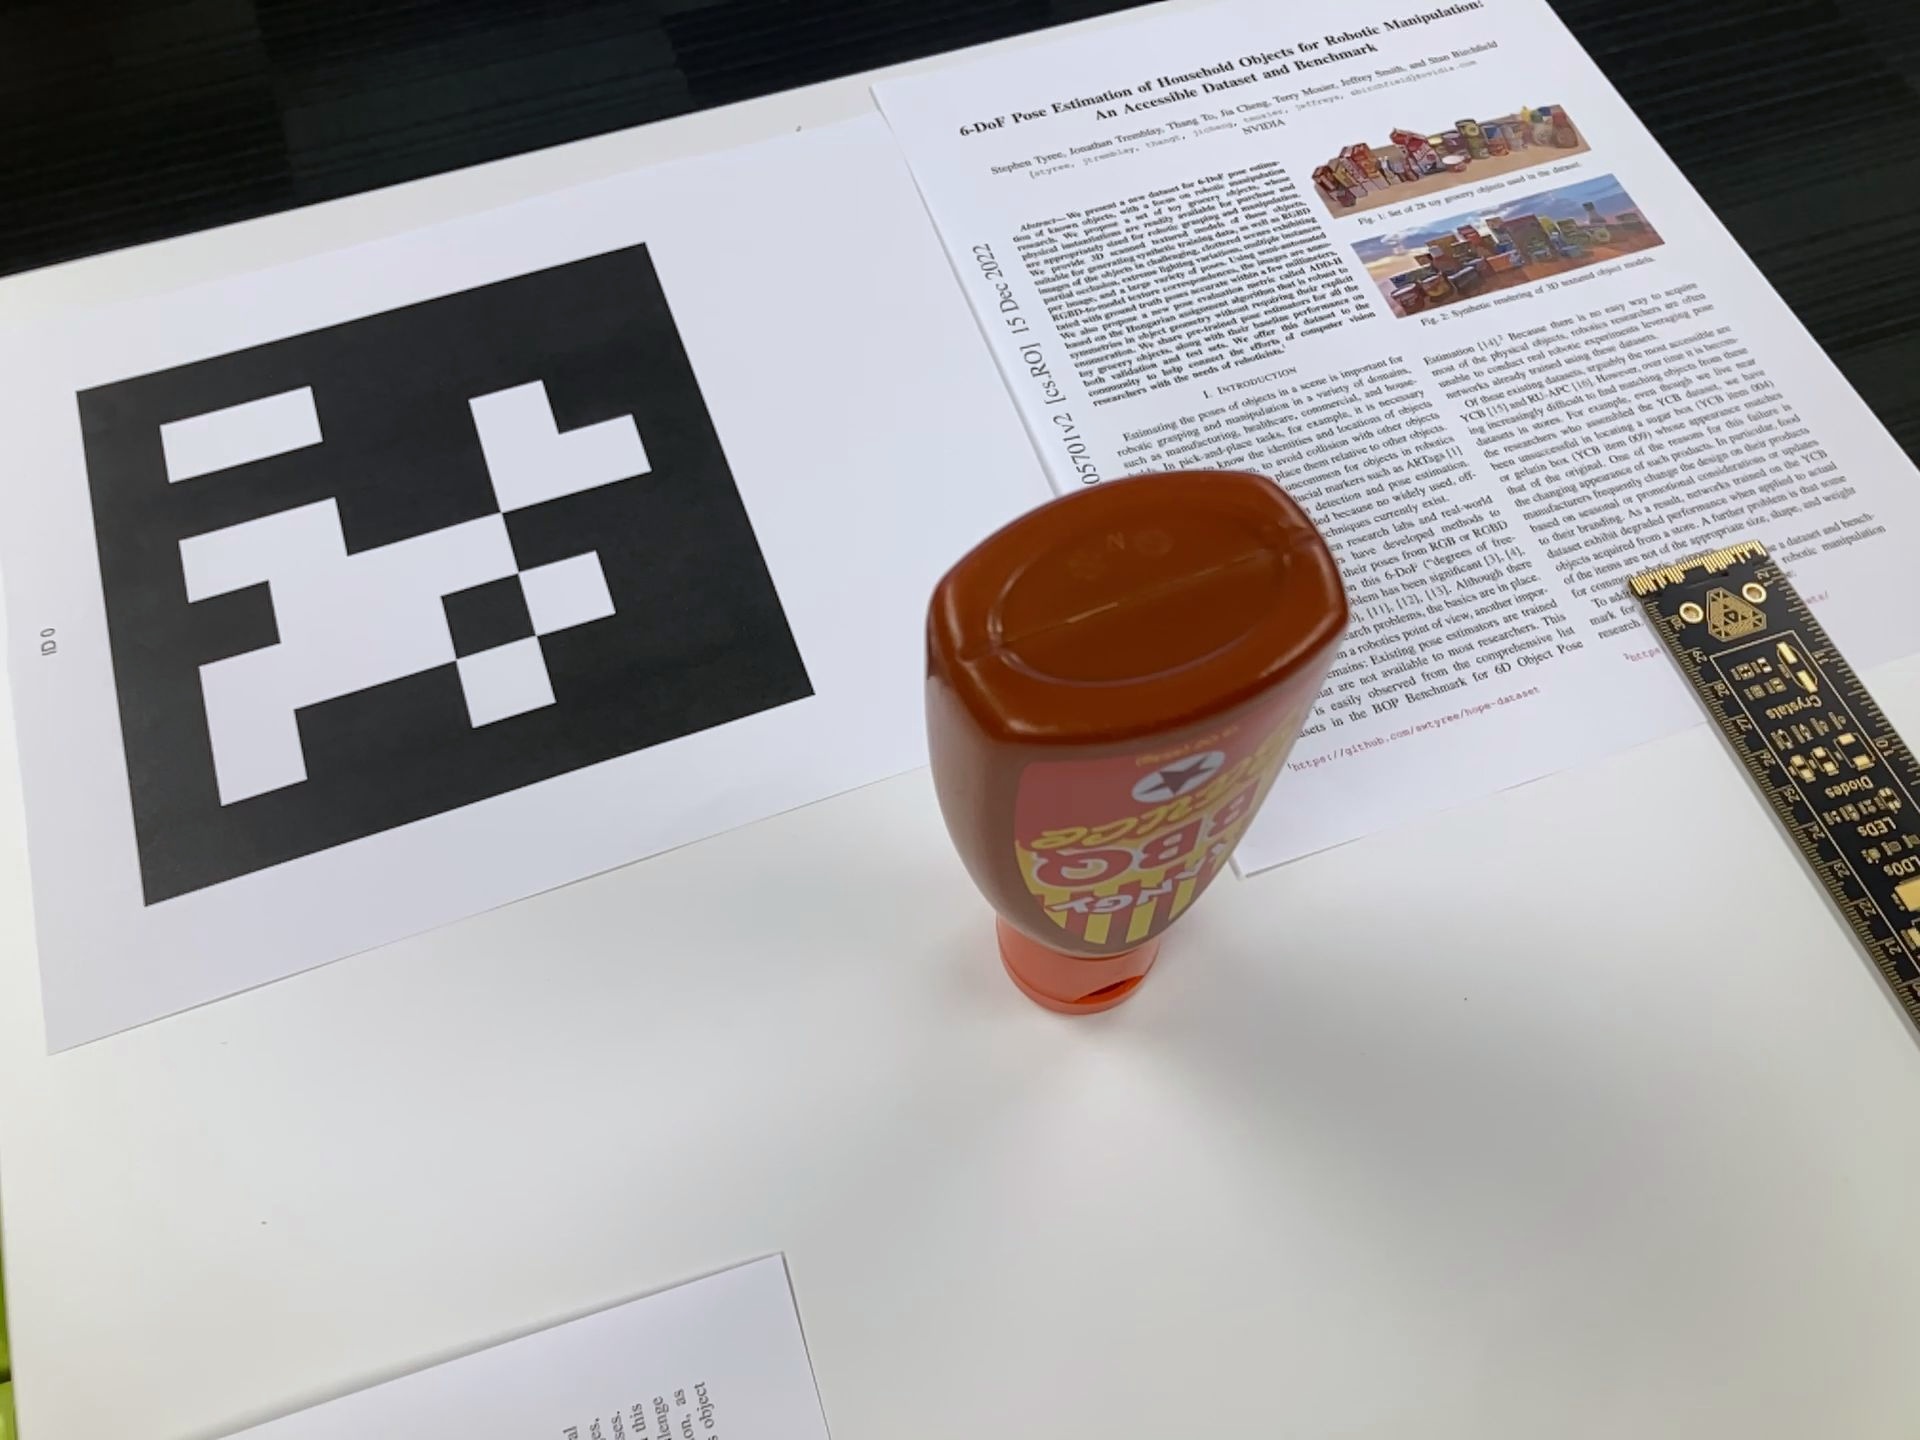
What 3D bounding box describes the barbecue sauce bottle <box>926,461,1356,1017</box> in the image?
[{"bbox_3d":[0.027,0.015,0.294,0.065,0.148,0.043,-19,64,-10],"label":"barbecue sauce bottle"}]
